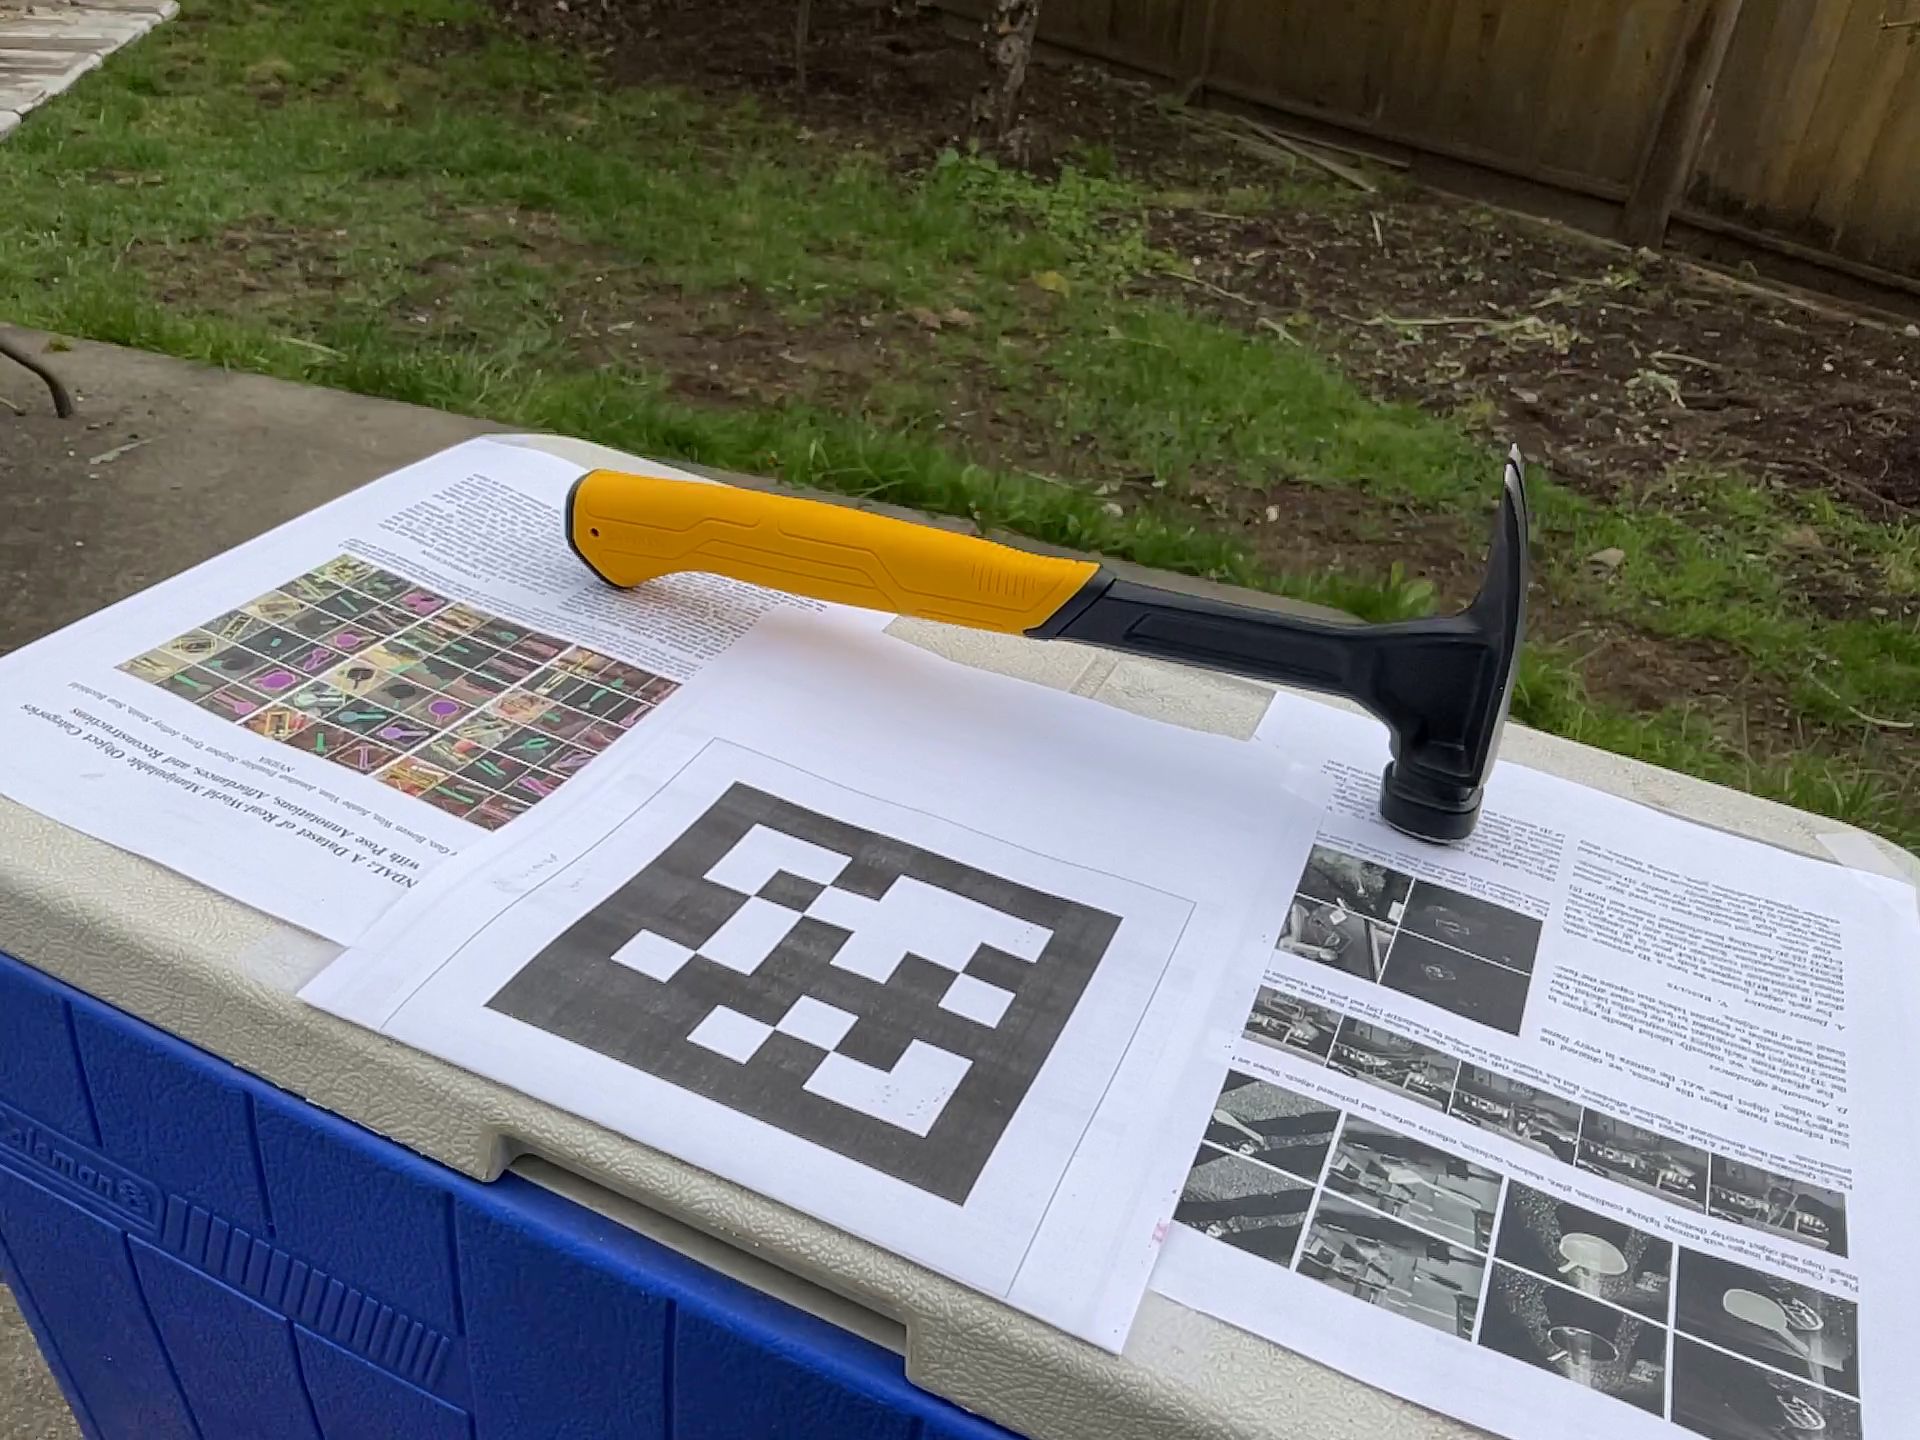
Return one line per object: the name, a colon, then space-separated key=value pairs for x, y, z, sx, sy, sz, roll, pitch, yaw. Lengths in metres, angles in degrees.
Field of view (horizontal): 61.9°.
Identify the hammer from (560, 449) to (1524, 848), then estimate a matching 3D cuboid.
hammer: x=0.014 y=-0.050 z=0.544 sx=0.337 sy=0.127 sz=0.034 roll=12 pitch=31 yaw=17
